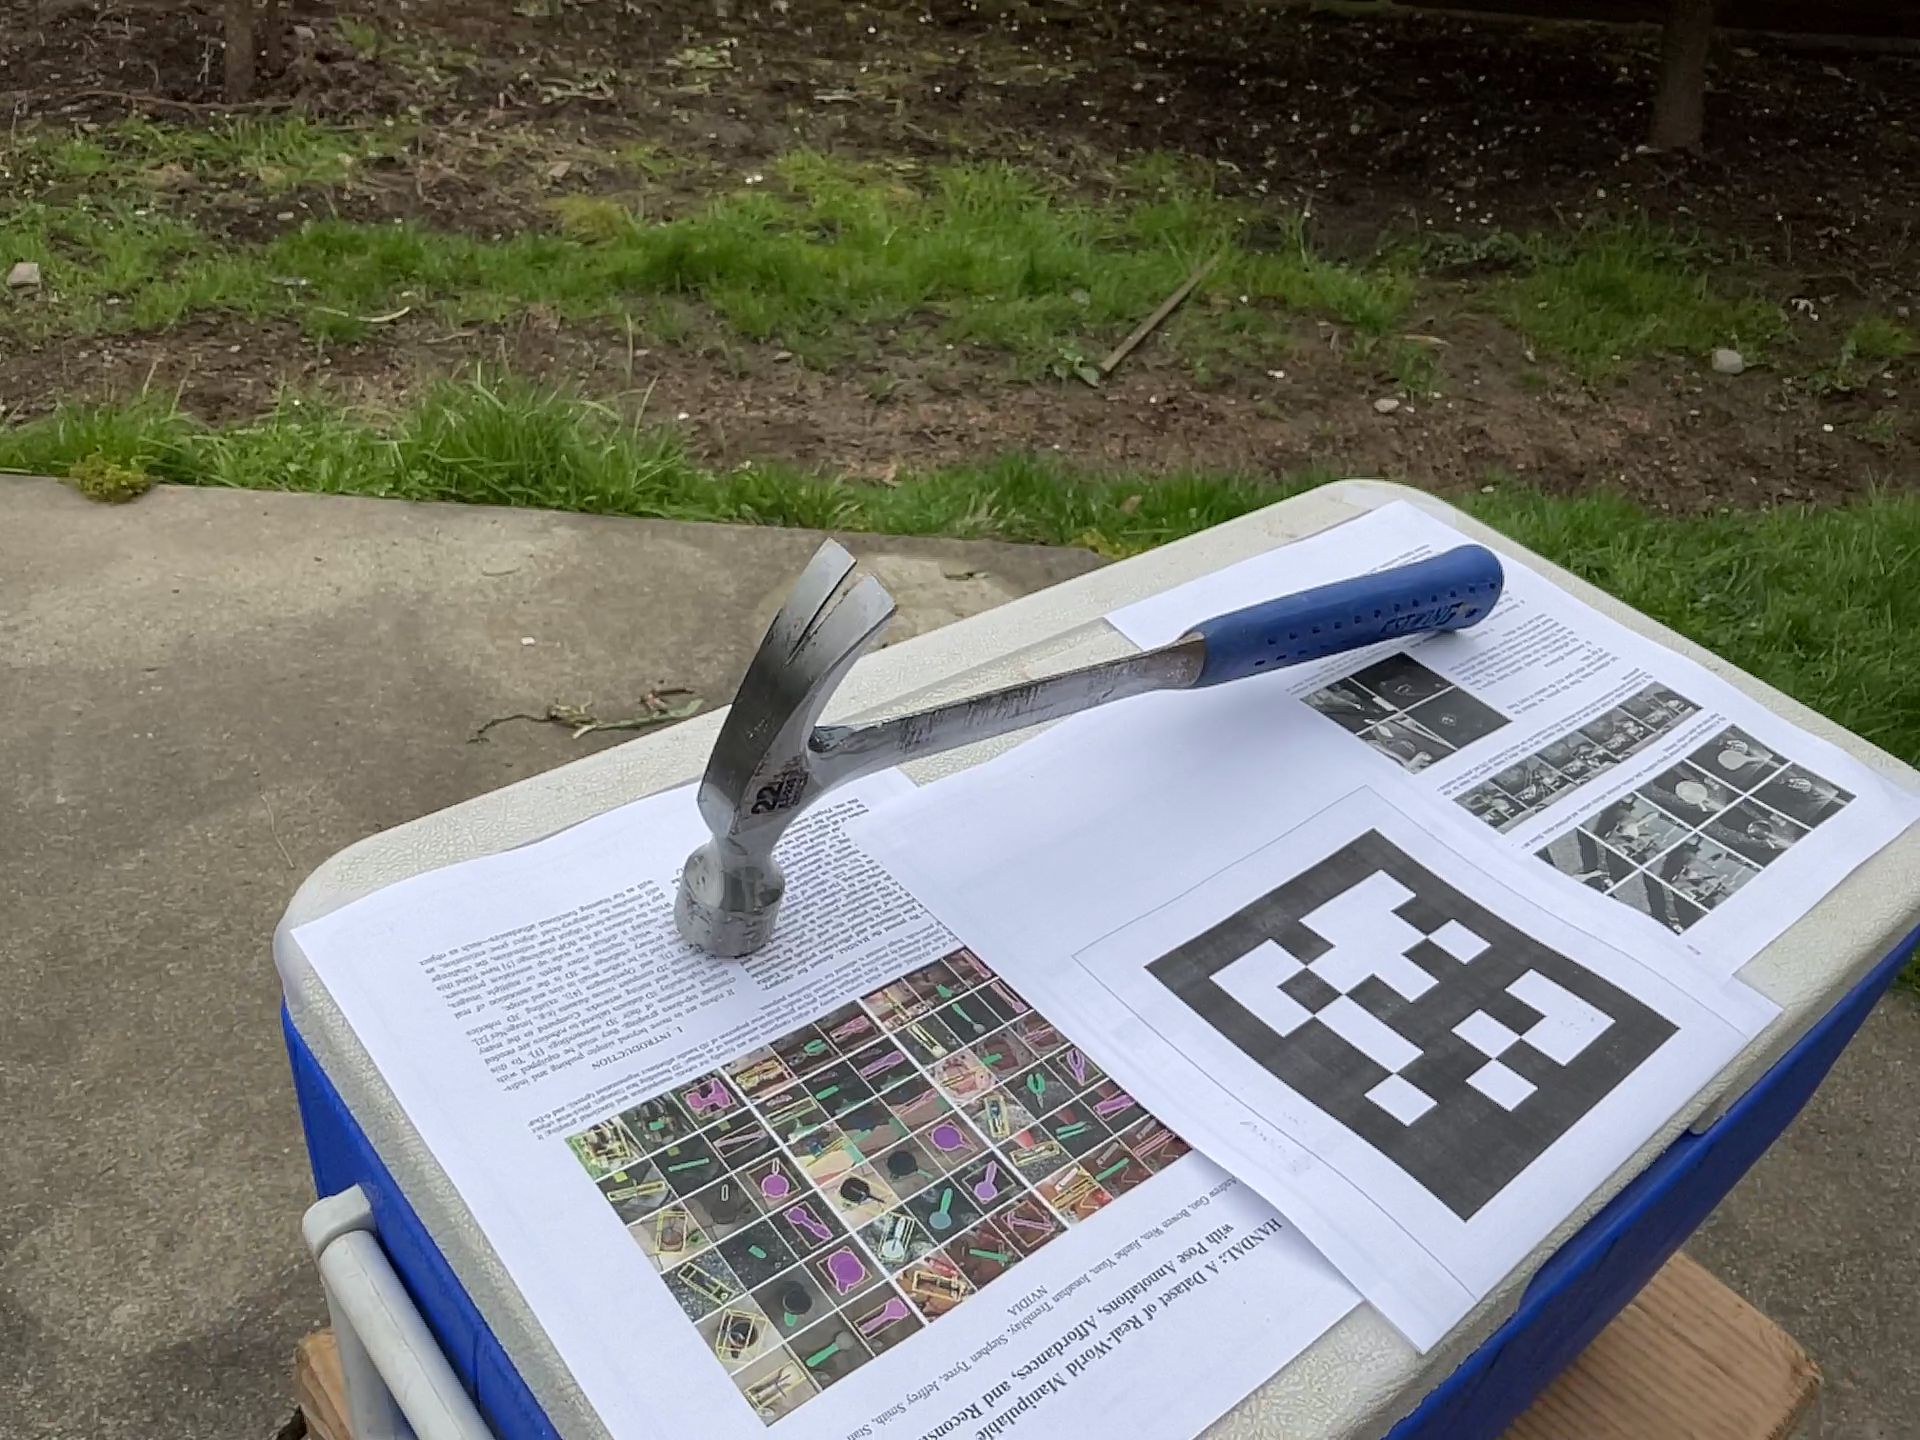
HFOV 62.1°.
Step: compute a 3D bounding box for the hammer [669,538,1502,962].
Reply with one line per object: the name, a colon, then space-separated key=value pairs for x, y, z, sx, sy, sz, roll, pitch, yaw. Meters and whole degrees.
hammer: x=0.081 y=-0.023 z=0.598 sx=0.405 sy=0.144 sz=0.035 roll=-15 pitch=49 yaw=-39
